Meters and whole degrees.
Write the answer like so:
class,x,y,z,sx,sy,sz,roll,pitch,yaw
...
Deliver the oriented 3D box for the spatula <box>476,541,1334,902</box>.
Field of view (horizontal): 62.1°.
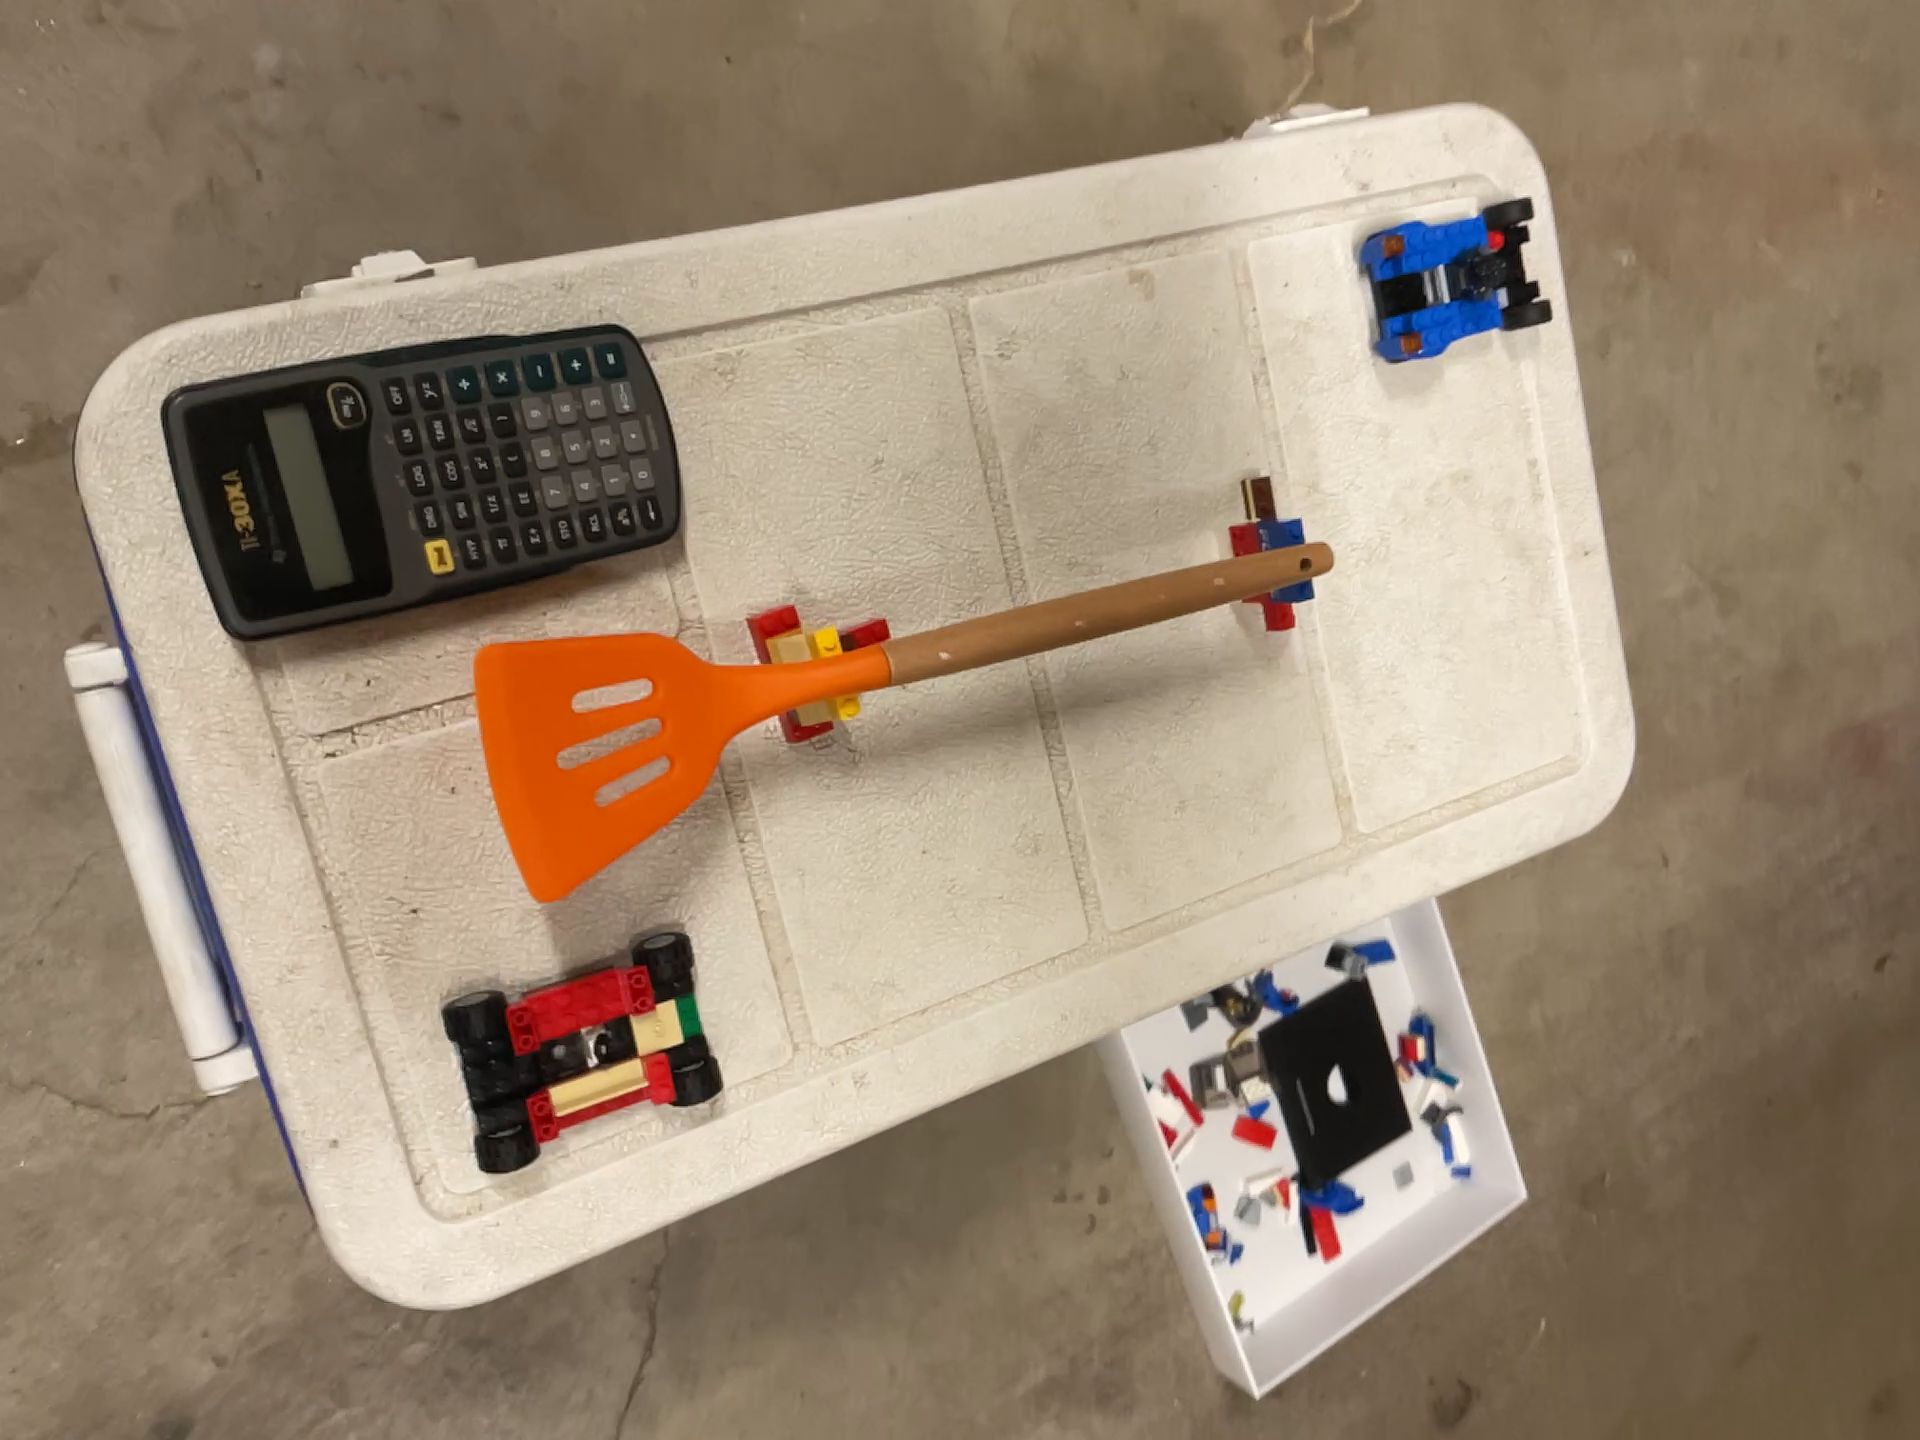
class,x,y,z,sx,sy,sz,roll,pitch,yaw
spatula,0.000,-0.023,0.544,0.323,0.041,0.081,-15,103,-22
